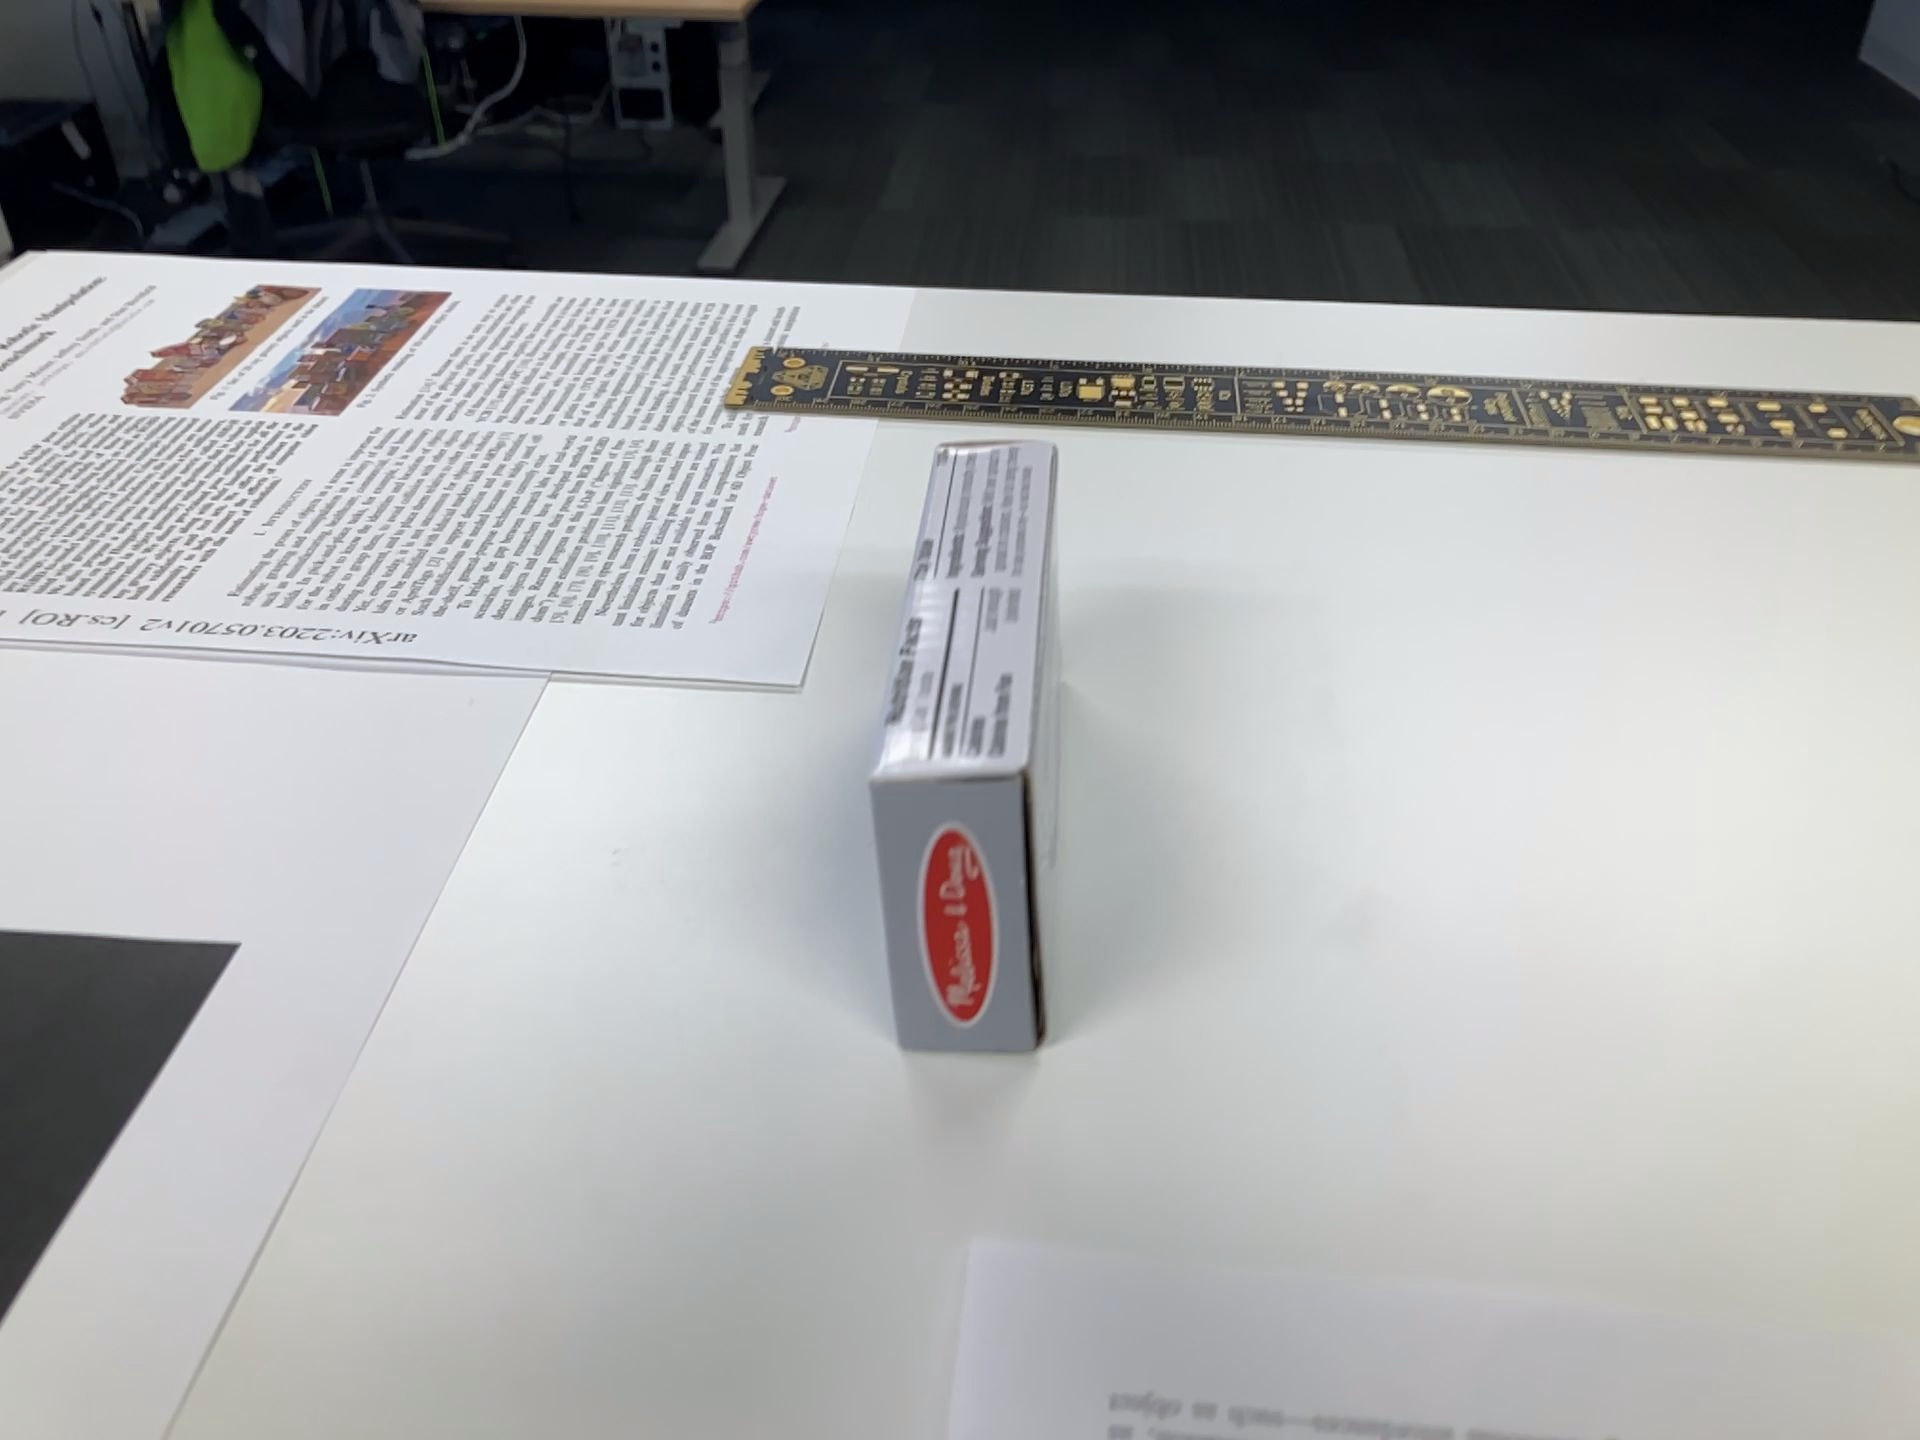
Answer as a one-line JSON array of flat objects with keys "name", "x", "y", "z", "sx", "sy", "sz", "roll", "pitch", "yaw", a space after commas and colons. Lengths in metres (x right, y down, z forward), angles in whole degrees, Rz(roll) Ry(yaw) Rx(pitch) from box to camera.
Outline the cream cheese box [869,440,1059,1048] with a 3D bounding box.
[{"name": "cream cheese box", "x": 0.004, "y": -0.002, "z": 0.266, "sx": 0.024, "sy": 0.053, "sz": 0.104, "roll": 1, "pitch": 35, "yaw": 4}]
